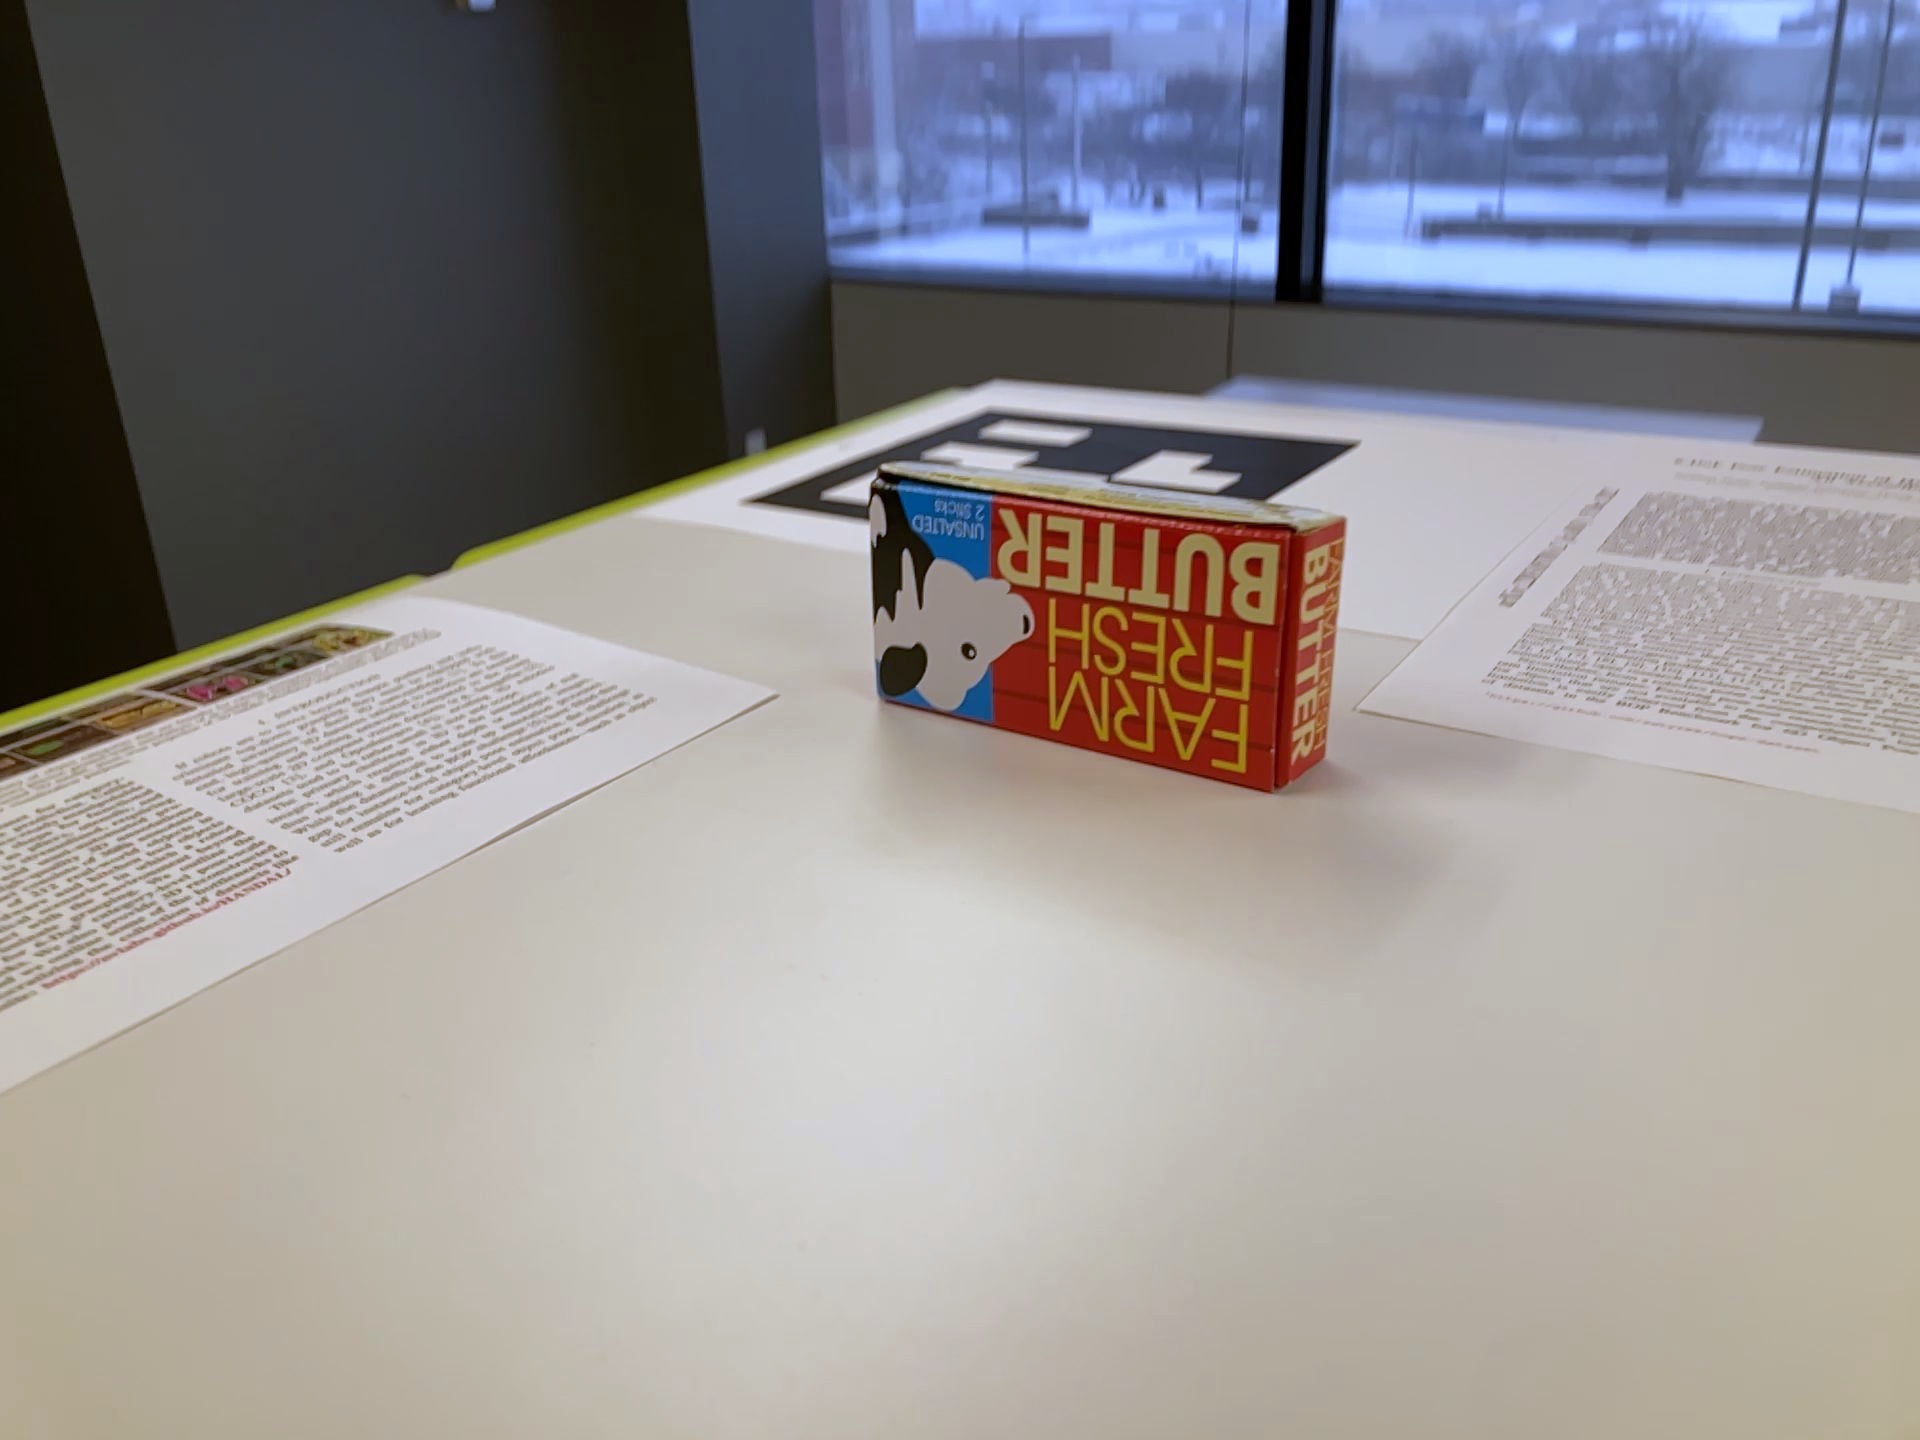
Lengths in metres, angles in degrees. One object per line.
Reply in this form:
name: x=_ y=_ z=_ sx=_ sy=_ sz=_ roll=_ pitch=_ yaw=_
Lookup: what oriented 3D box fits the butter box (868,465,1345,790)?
butter box: x=0.027 y=-0.022 z=0.335 sx=0.103 sy=0.053 sz=0.024 roll=12 pitch=24 yaw=32
